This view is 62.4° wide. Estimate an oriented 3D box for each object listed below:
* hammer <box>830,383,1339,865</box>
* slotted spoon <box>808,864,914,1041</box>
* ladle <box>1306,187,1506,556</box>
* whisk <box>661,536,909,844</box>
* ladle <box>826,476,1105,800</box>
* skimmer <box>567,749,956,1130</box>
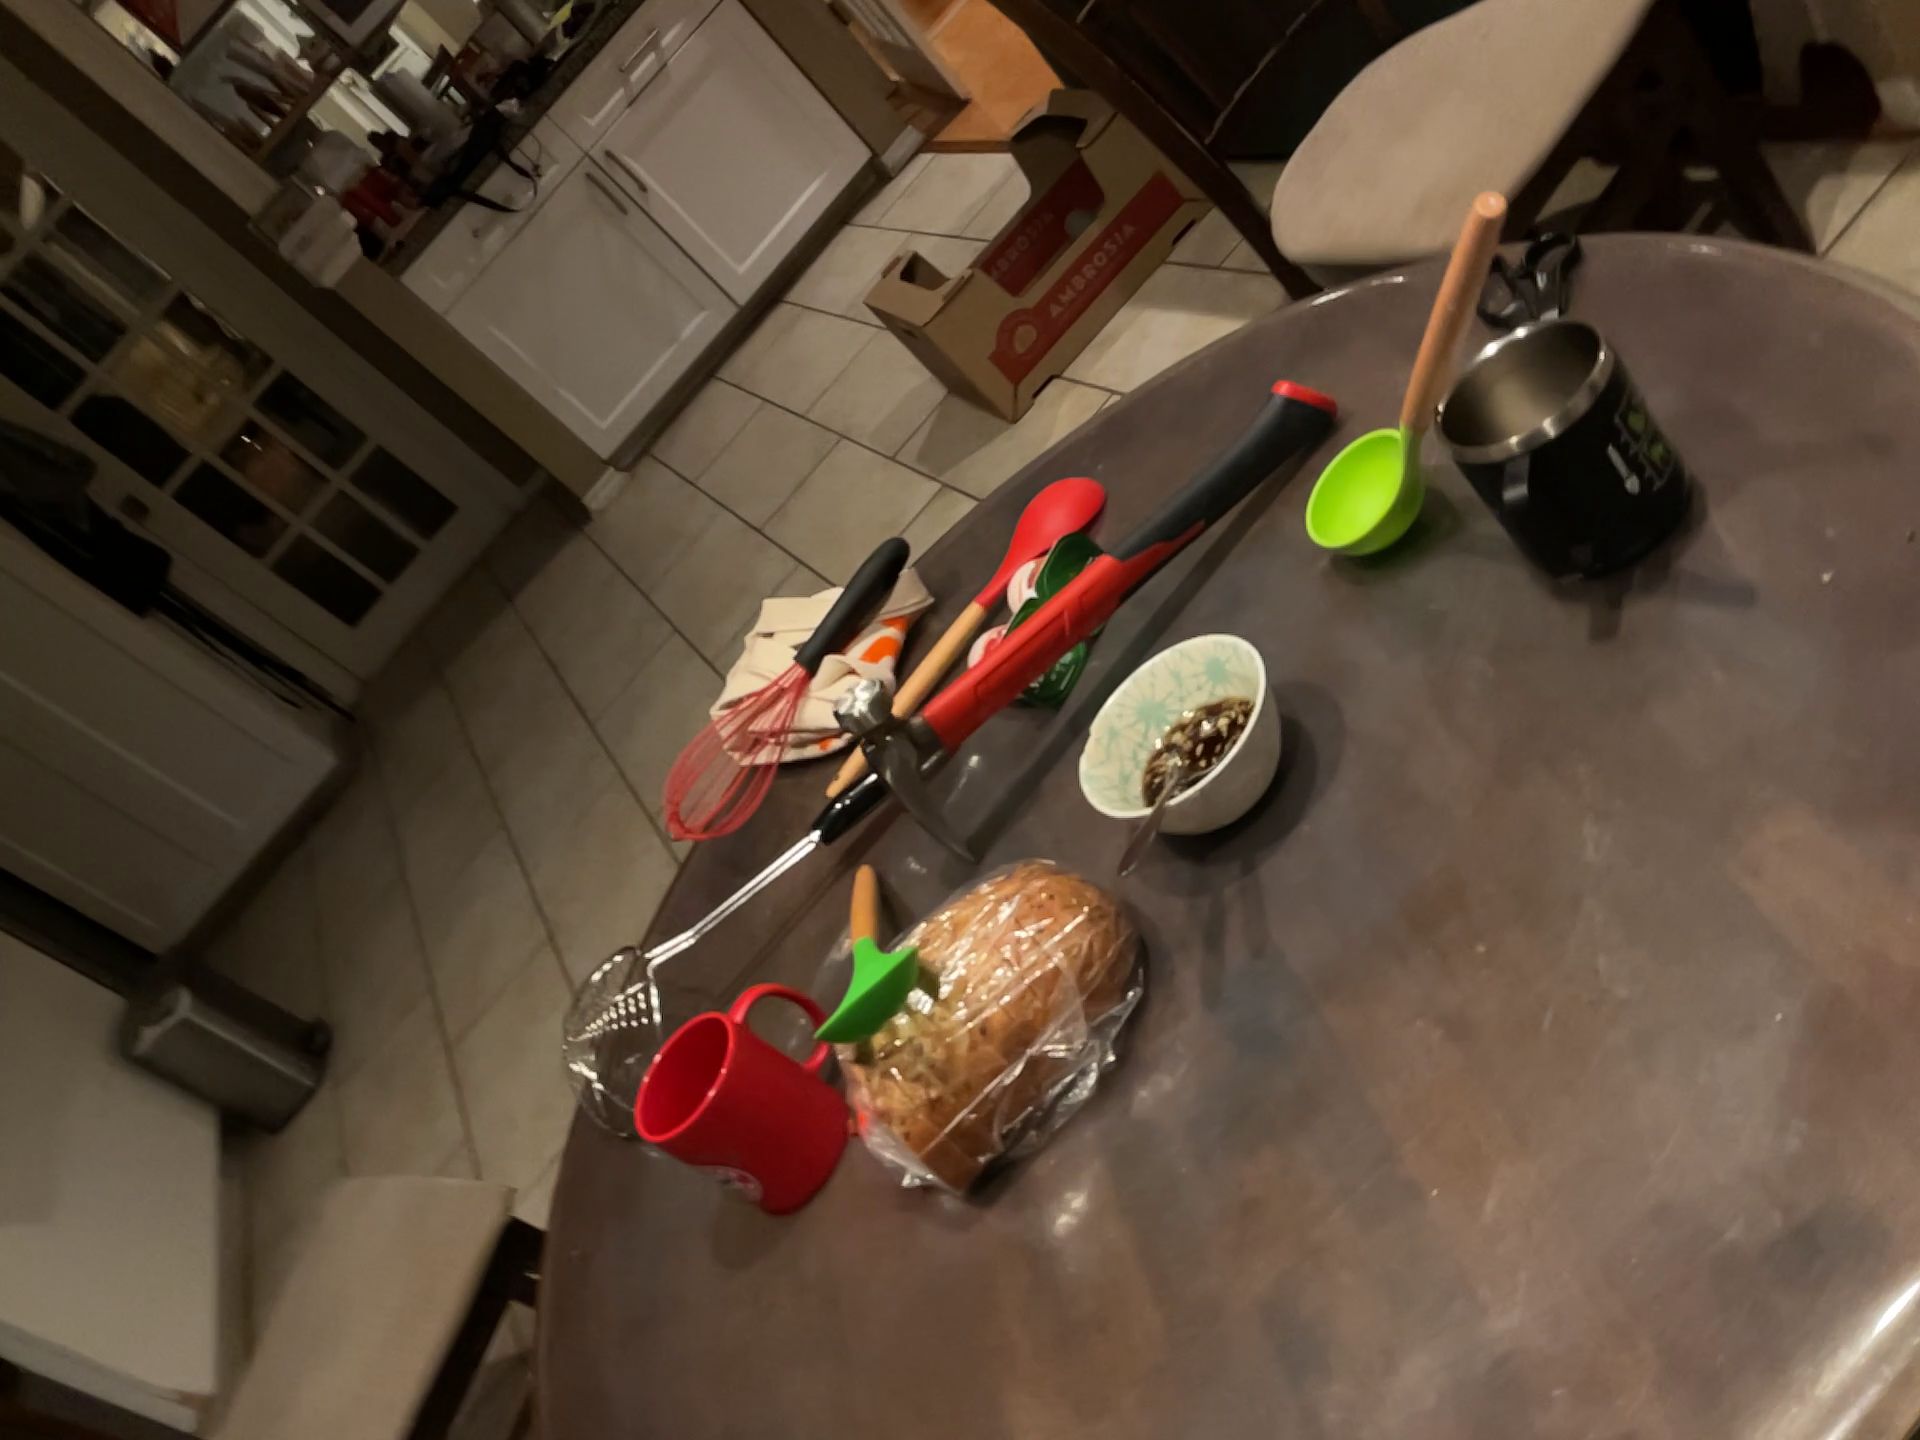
[{"bbox_3d":[0.102,-0.075,1.021,0.386,0.143,0.038,-40,30,-10],"label":"hammer"},{"bbox_3d":[-0.055,0.126,0.934,0.070,0.031,0.314,-41,8,3],"label":"slotted spoon"},{"bbox_3d":[0.223,-0.168,0.801,0.062,0.320,0.078,17,75,11],"label":"ladle"},{"bbox_3d":[-0.132,-0.025,1.215,0.296,0.073,0.073,-53,29,-9],"label":"whisk"},{"bbox_3d":[0.000,-0.064,1.190,0.315,0.031,0.069,-52,30,-3],"label":"ladle"},{"bbox_3d":[-0.134,0.139,1.121,0.363,0.090,0.127,-38,38,-4],"label":"skimmer"}]
